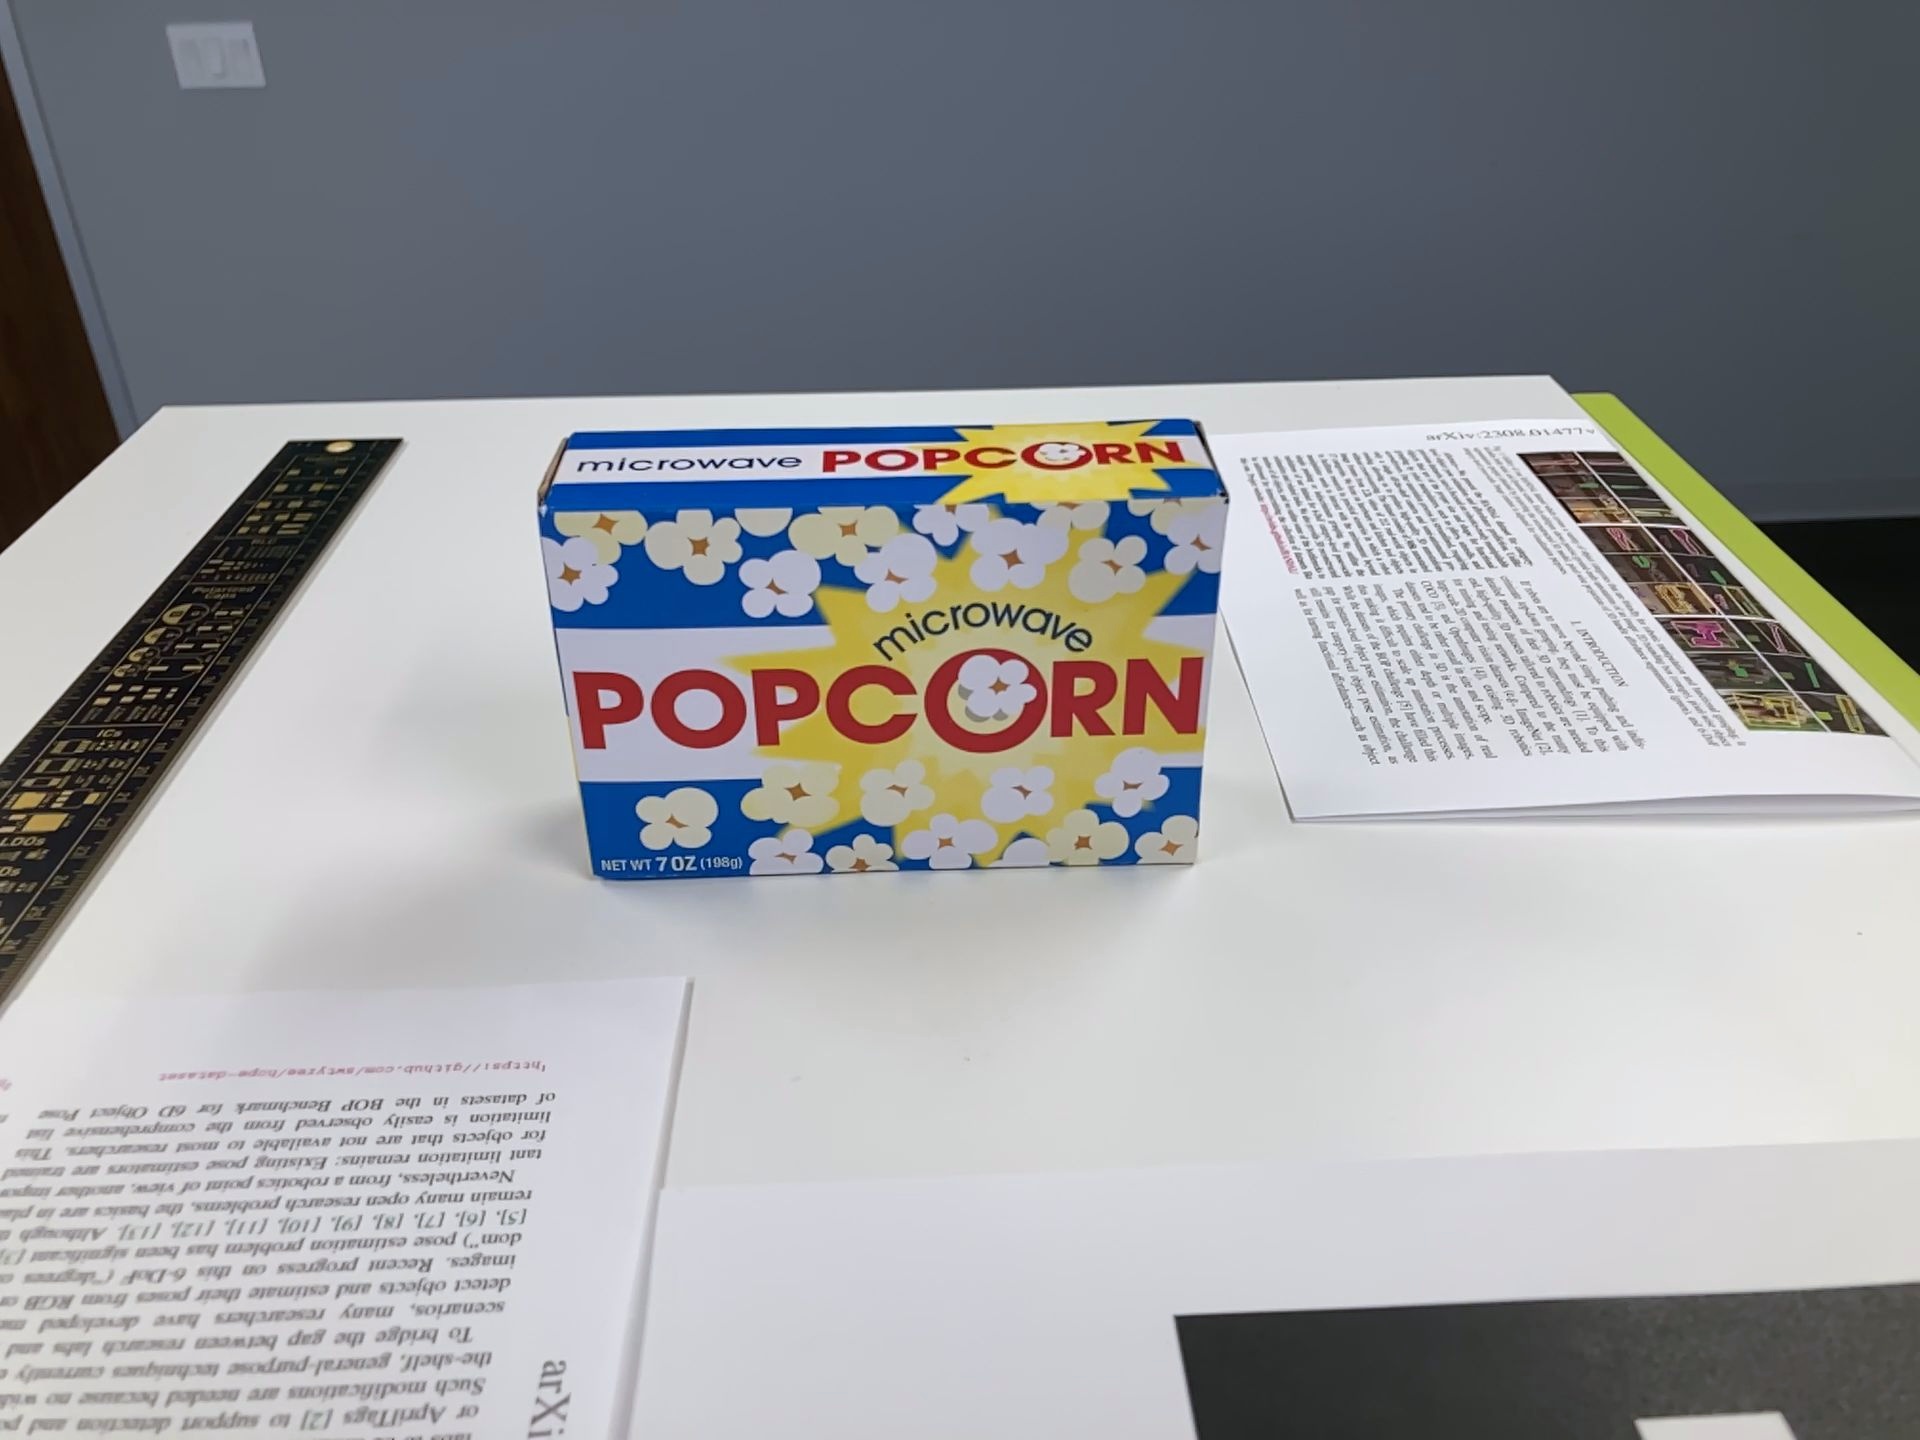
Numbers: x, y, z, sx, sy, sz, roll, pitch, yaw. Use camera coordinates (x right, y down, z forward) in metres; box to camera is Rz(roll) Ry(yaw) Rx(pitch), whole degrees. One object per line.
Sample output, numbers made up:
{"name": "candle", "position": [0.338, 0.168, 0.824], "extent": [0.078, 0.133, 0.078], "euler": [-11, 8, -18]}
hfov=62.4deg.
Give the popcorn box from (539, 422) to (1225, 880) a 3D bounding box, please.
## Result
{"name": "popcorn box", "position": [-0.014, -0.013, 0.320], "extent": [0.126, 0.085, 0.038], "euler": [-1, 31, -2]}
